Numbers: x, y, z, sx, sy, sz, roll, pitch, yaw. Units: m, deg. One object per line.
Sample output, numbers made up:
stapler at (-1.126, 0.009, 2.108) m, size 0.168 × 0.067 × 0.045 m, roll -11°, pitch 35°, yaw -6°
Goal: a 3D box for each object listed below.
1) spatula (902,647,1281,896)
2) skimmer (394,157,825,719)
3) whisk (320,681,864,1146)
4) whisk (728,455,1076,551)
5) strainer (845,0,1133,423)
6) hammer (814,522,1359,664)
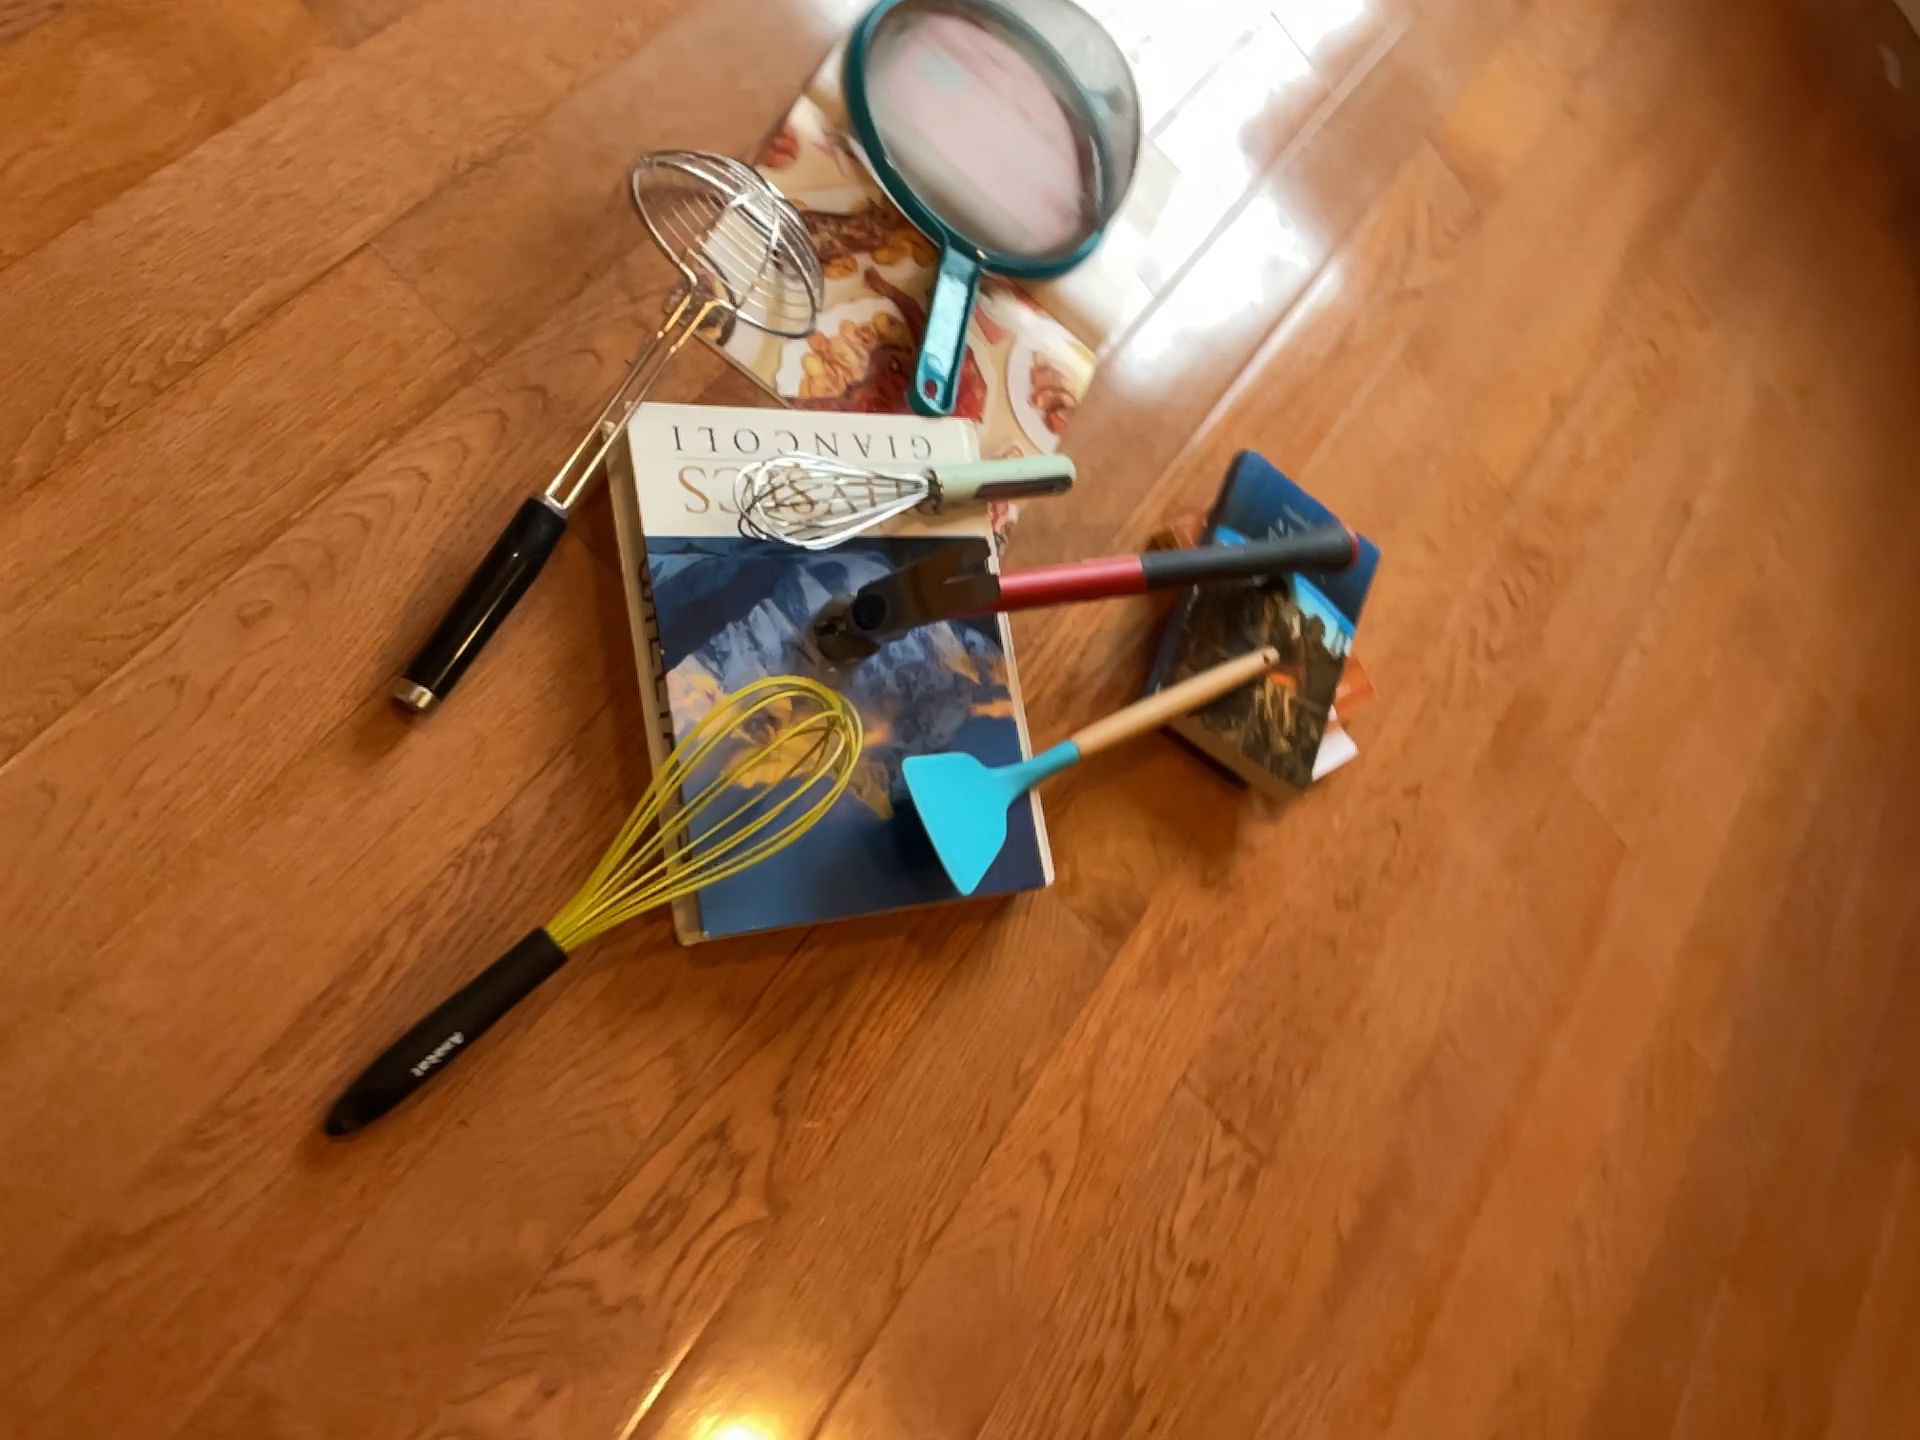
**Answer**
spatula at (0.091, 0.009, 0.930) m, size 0.318 × 0.044 × 0.082 m, roll -24°, pitch 89°, yaw -35°
skimmer at (-0.189, -0.154, 0.846) m, size 0.127 × 0.090 × 0.364 m, roll 38°, pitch 71°, yaw -22°
whisk at (-0.171, 0.088, 0.755) m, size 0.312 × 0.067 × 0.080 m, roll -41°, pitch 117°, yaw -19°
whisk at (-0.024, -0.128, 0.897) m, size 0.246 × 0.057 × 0.059 m, roll -13°, pitch 54°, yaw -40°
strainer at (0.029, -0.337, 0.986) m, size 0.211 × 0.095 × 0.341 m, roll 25°, pitch 58°, yaw -26°
hammer at (0.112, -0.087, 0.922) m, size 0.386 × 0.143 × 0.038 m, roll -11°, pitch 87°, yaw -38°
